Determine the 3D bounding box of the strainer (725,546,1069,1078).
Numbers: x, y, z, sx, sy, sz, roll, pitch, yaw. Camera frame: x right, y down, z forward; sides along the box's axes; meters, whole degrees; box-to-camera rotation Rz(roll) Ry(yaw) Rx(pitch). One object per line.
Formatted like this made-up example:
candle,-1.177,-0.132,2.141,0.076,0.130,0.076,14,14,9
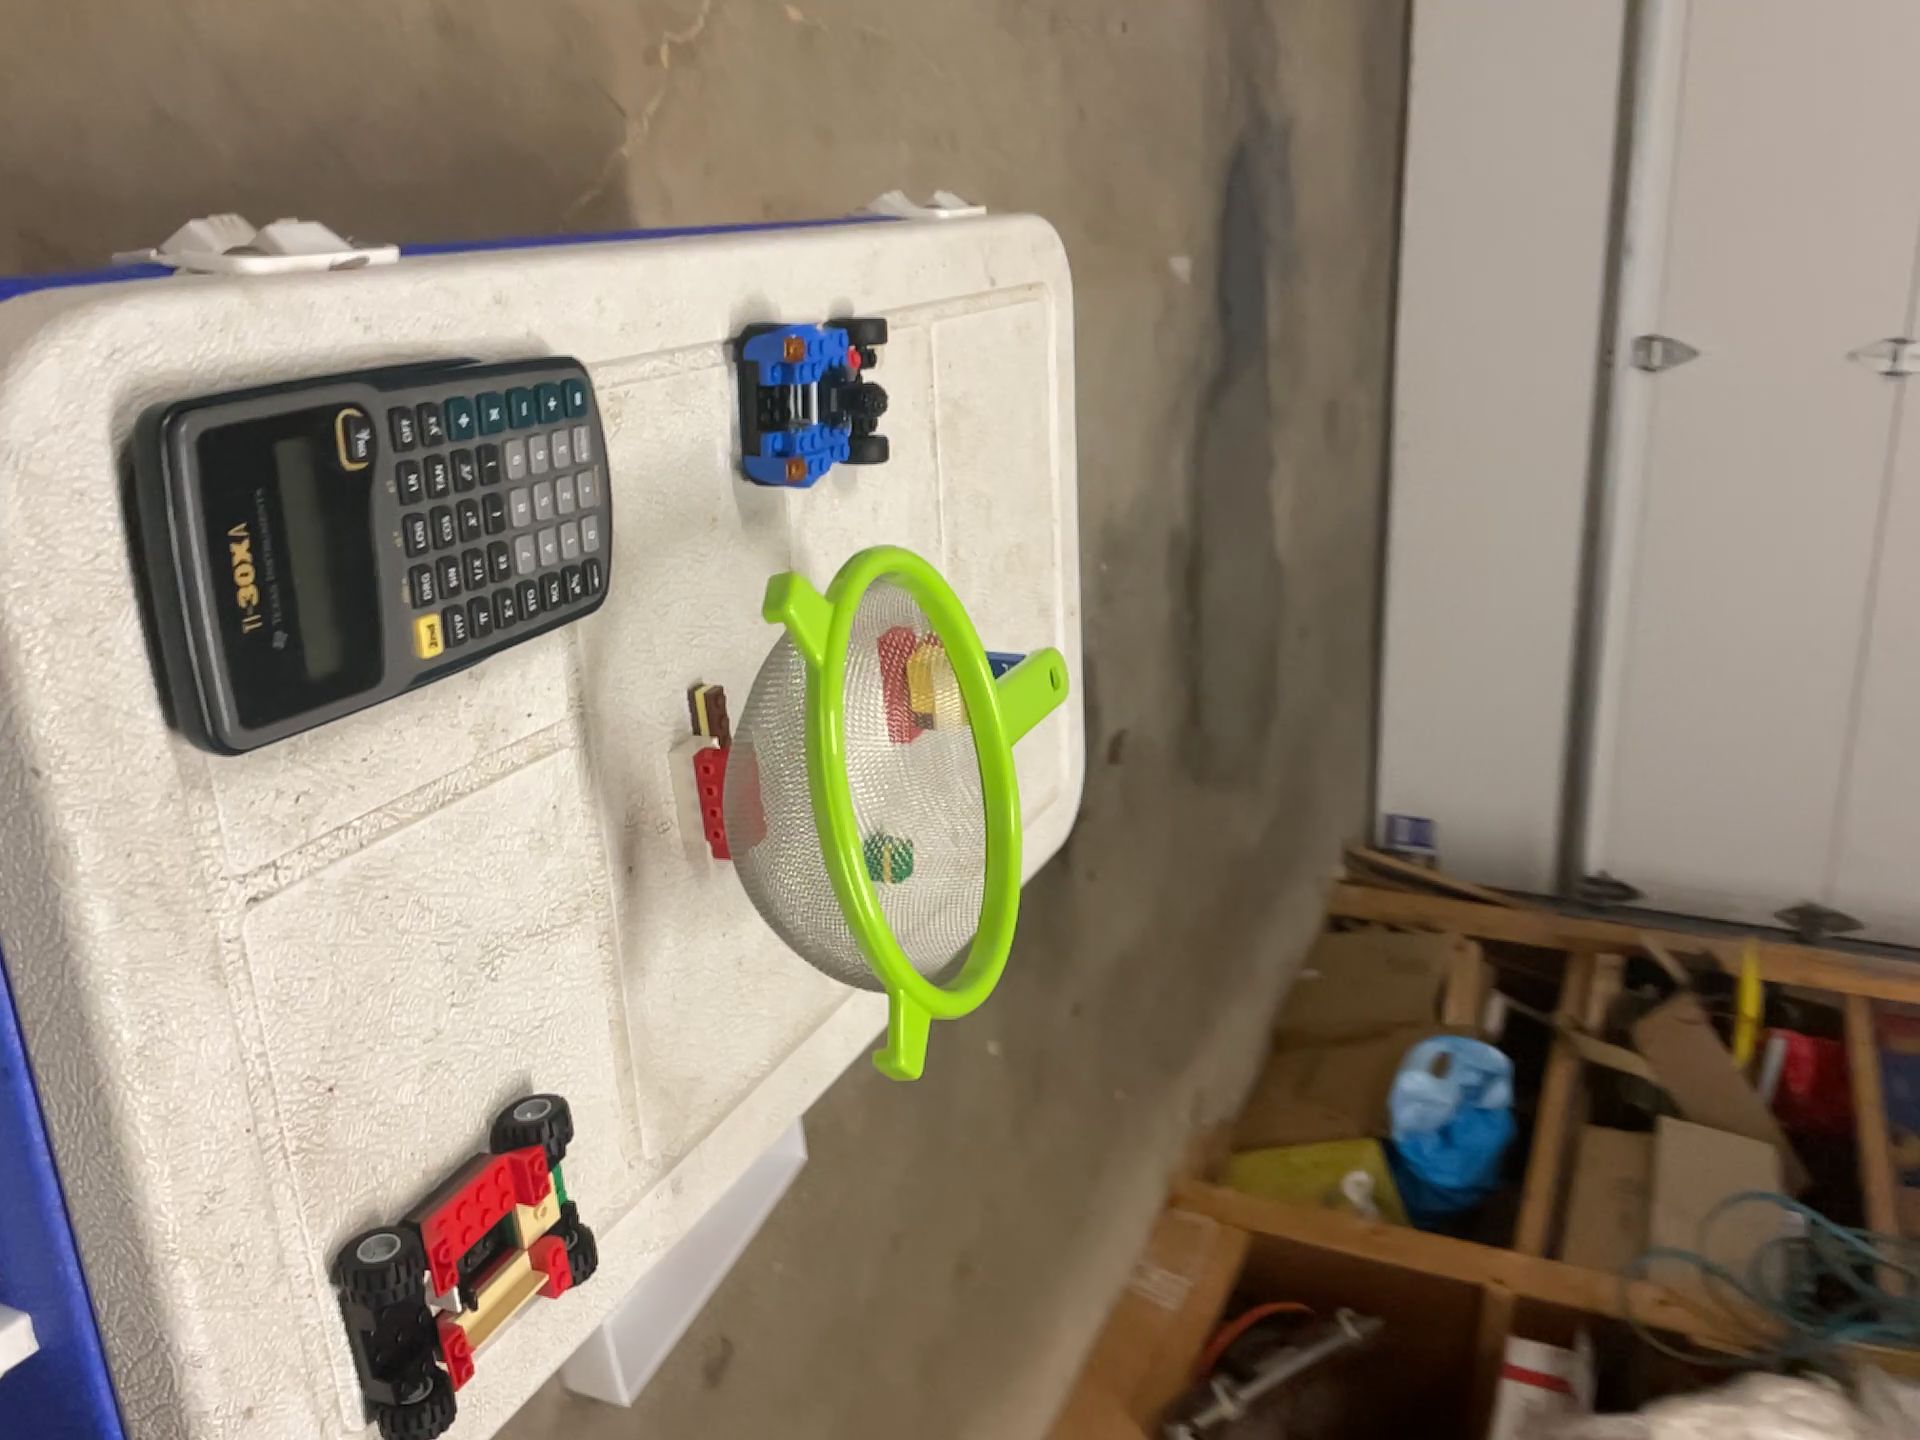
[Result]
strainer,-0.020,0.011,0.568,0.256,0.069,0.151,-37,115,-69
